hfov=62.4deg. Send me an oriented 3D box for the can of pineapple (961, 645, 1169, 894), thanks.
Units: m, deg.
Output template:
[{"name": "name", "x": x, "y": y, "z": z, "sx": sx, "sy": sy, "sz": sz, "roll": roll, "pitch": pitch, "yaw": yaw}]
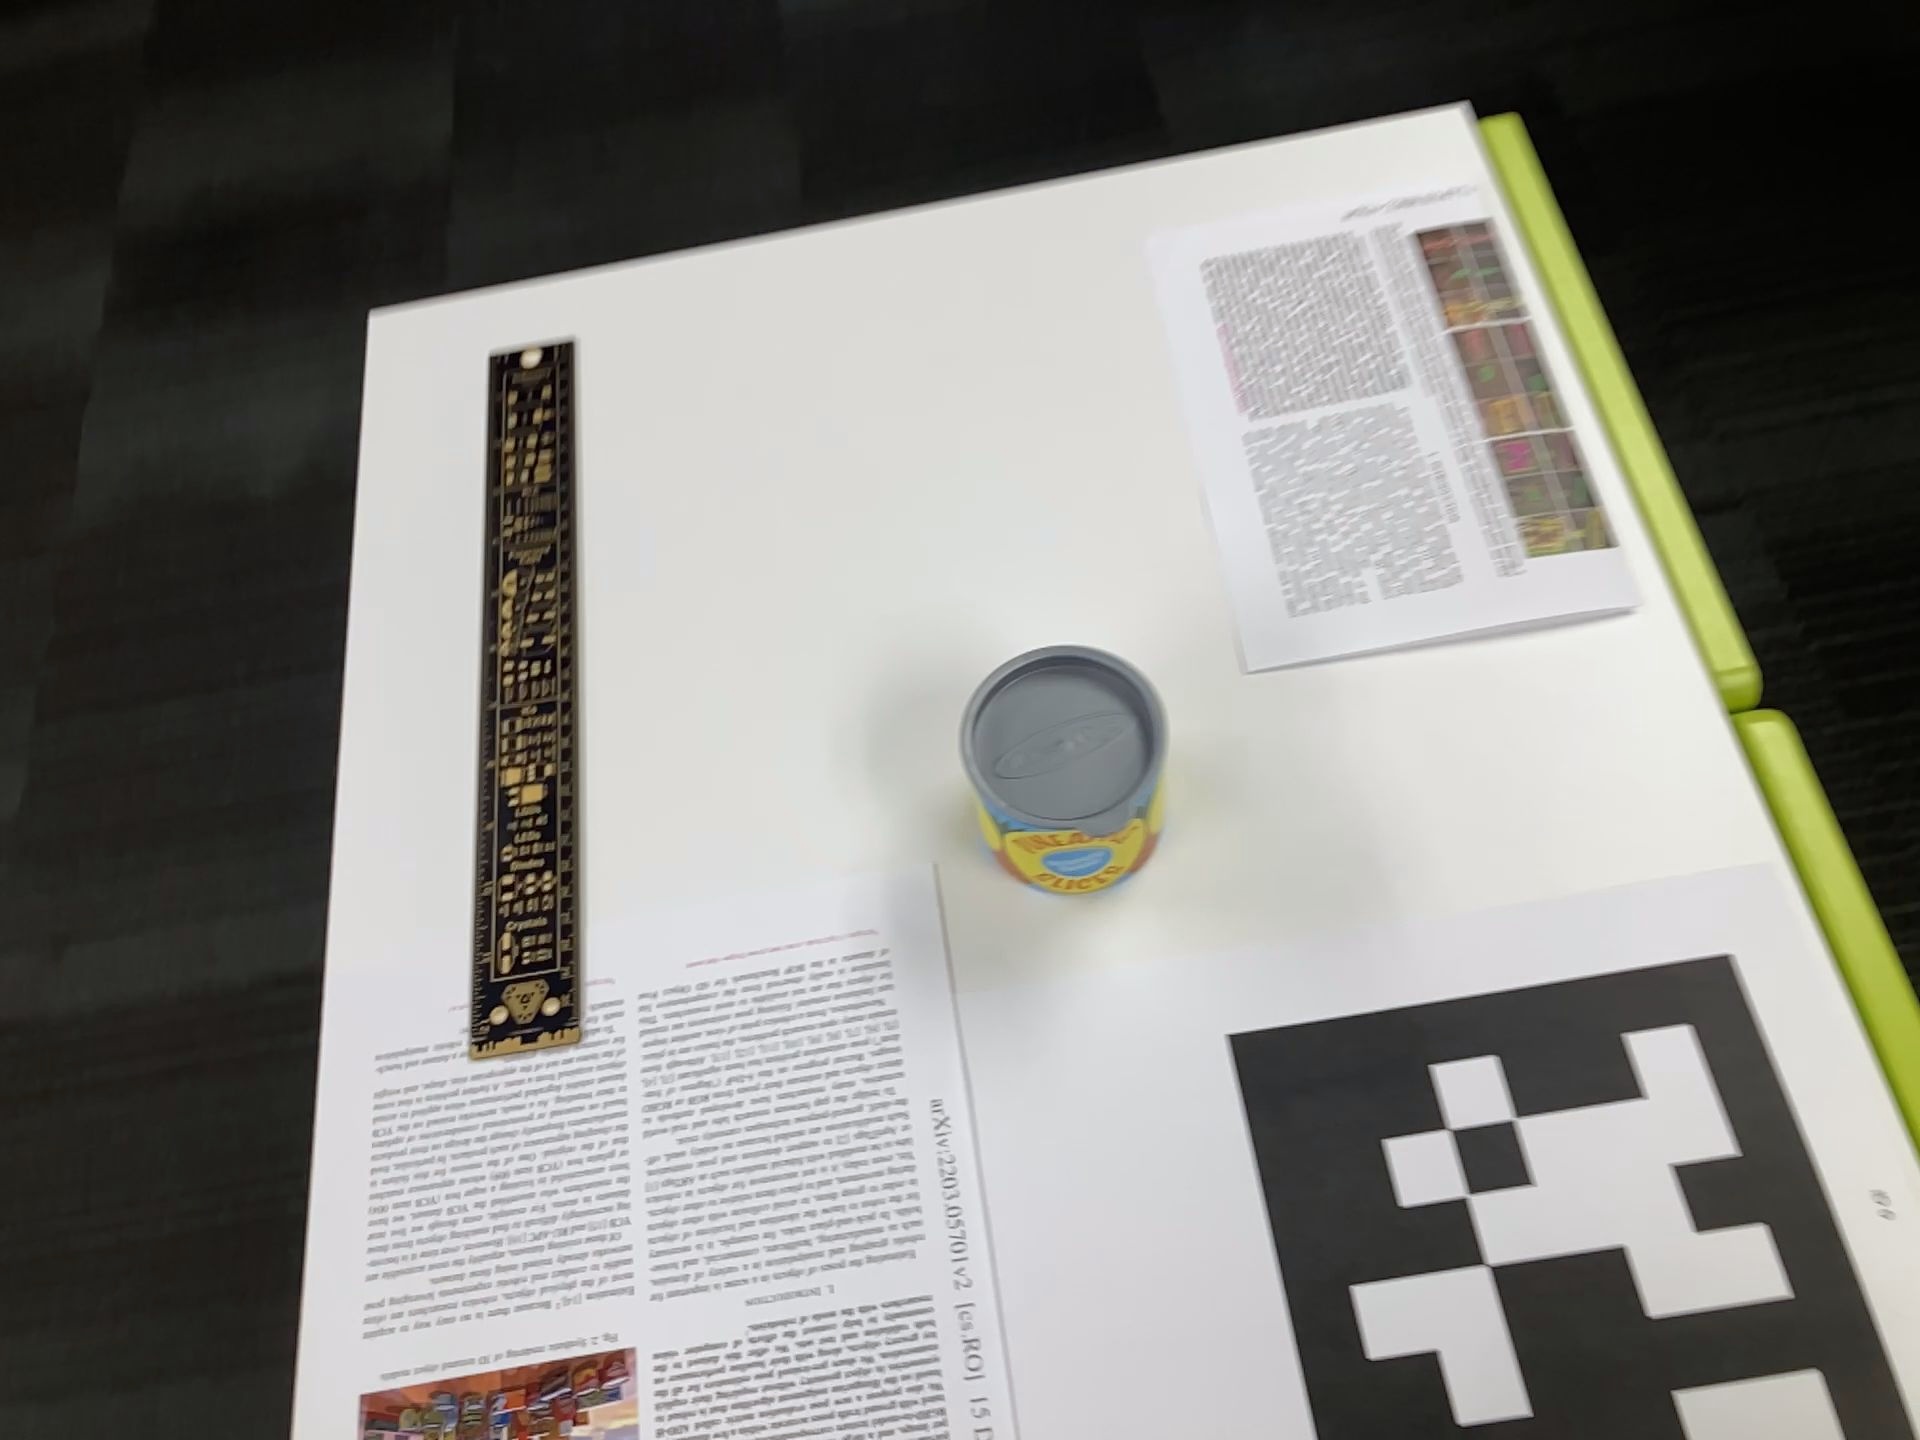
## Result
[{"name": "can of pineapple", "x": 0.037, "y": 0.019, "z": 0.529, "sx": 0.071, "sy": 0.058, "sz": 0.071, "roll": -3, "pitch": 62, "yaw": 6}]
